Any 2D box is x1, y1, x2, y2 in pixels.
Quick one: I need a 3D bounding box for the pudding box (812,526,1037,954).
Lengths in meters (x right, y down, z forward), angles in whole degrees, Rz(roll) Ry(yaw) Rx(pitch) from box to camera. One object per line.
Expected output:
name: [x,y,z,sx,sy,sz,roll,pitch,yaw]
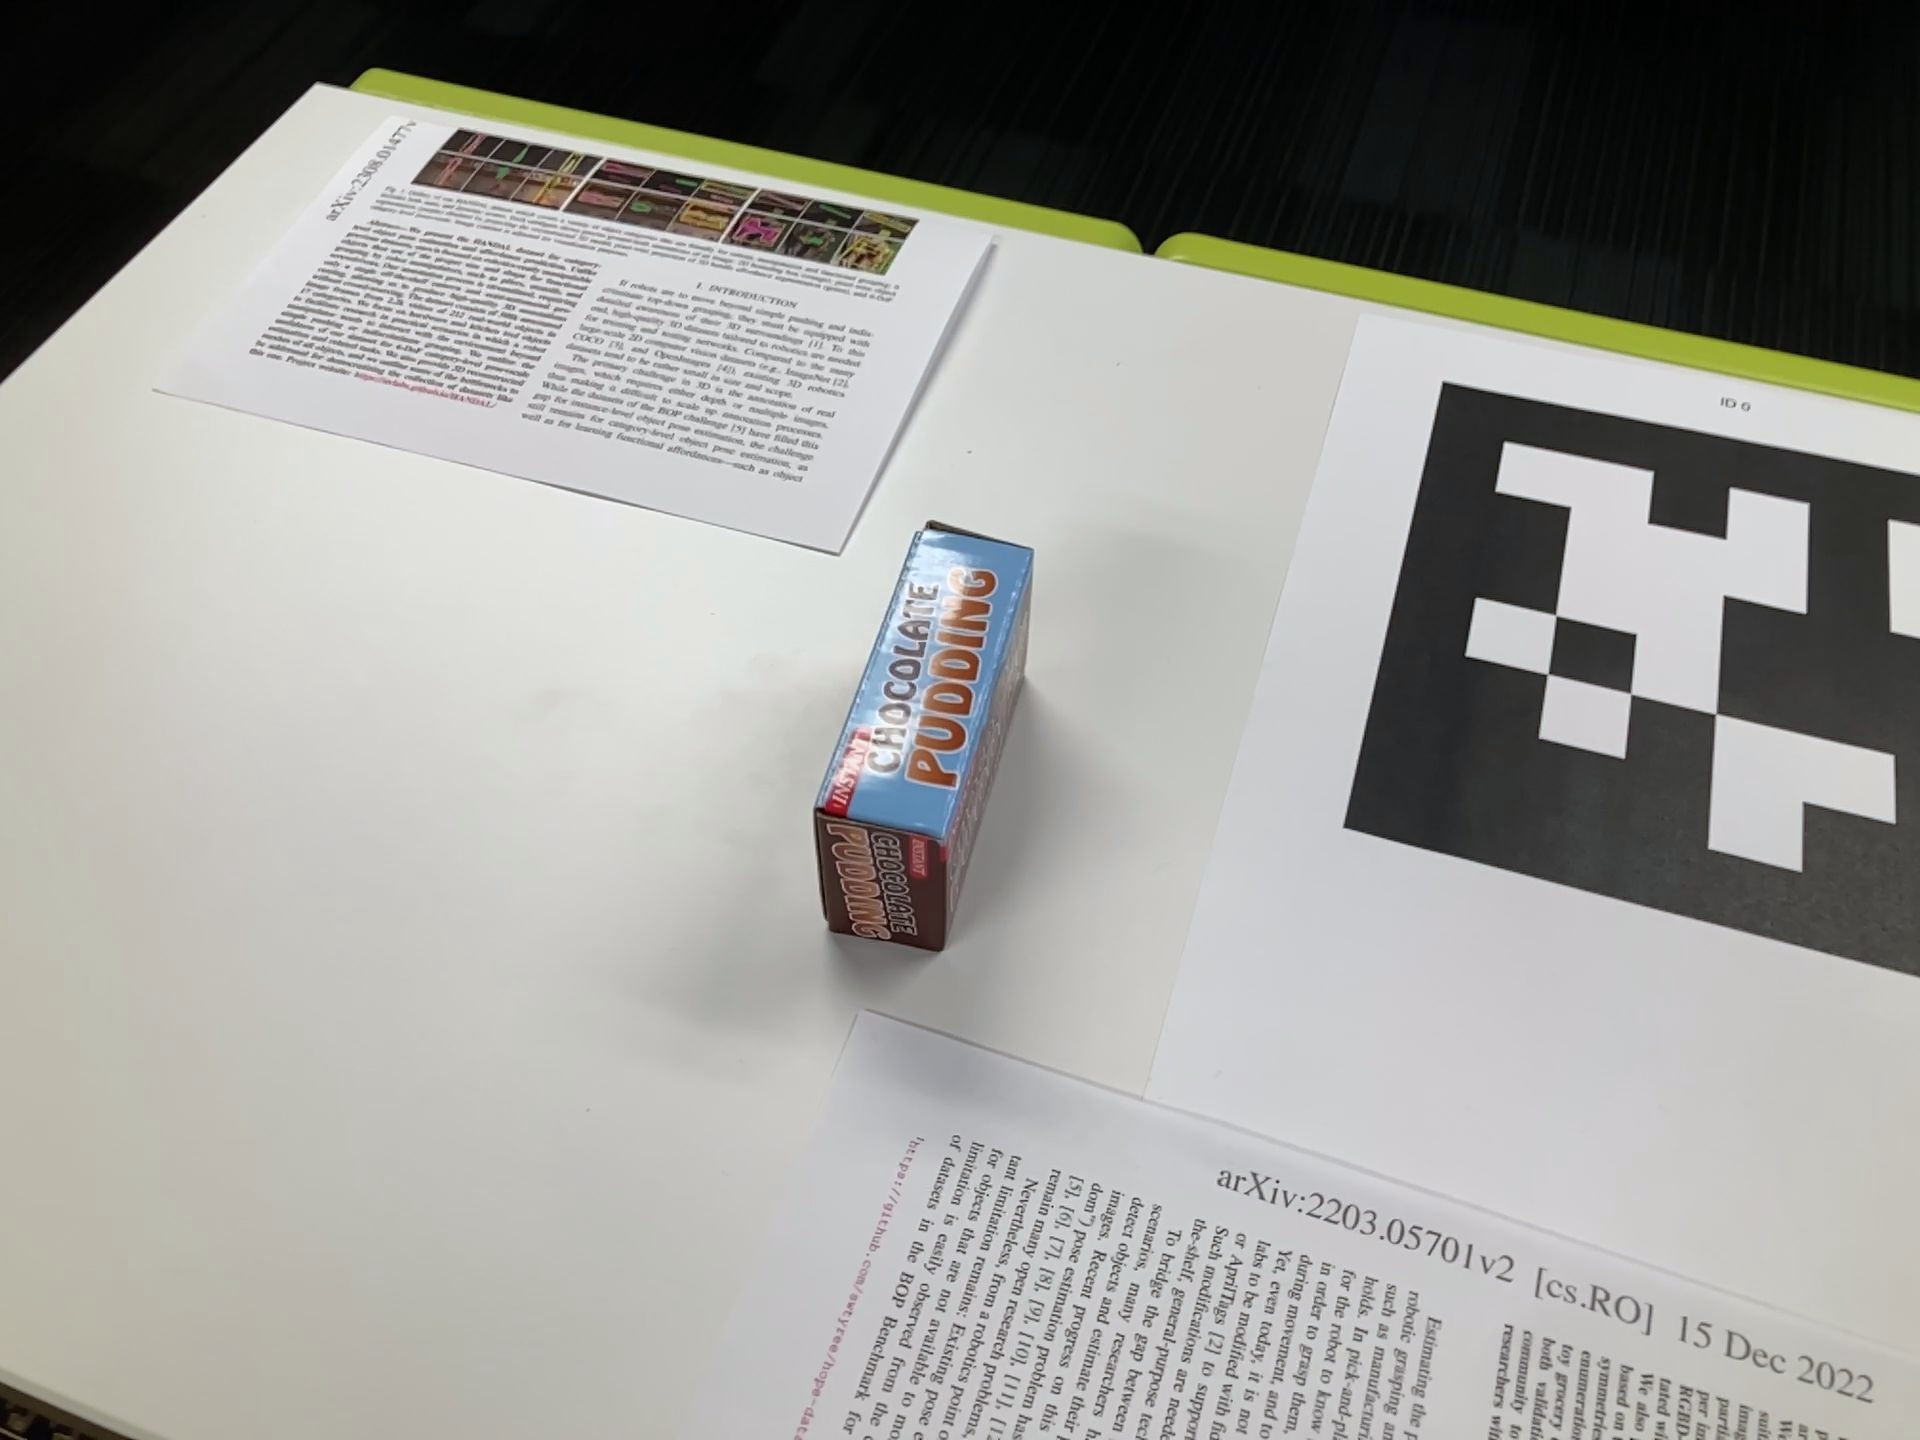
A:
pudding box: [-0.007,0.003,0.357,0.030,0.049,0.083,13,54,8]
